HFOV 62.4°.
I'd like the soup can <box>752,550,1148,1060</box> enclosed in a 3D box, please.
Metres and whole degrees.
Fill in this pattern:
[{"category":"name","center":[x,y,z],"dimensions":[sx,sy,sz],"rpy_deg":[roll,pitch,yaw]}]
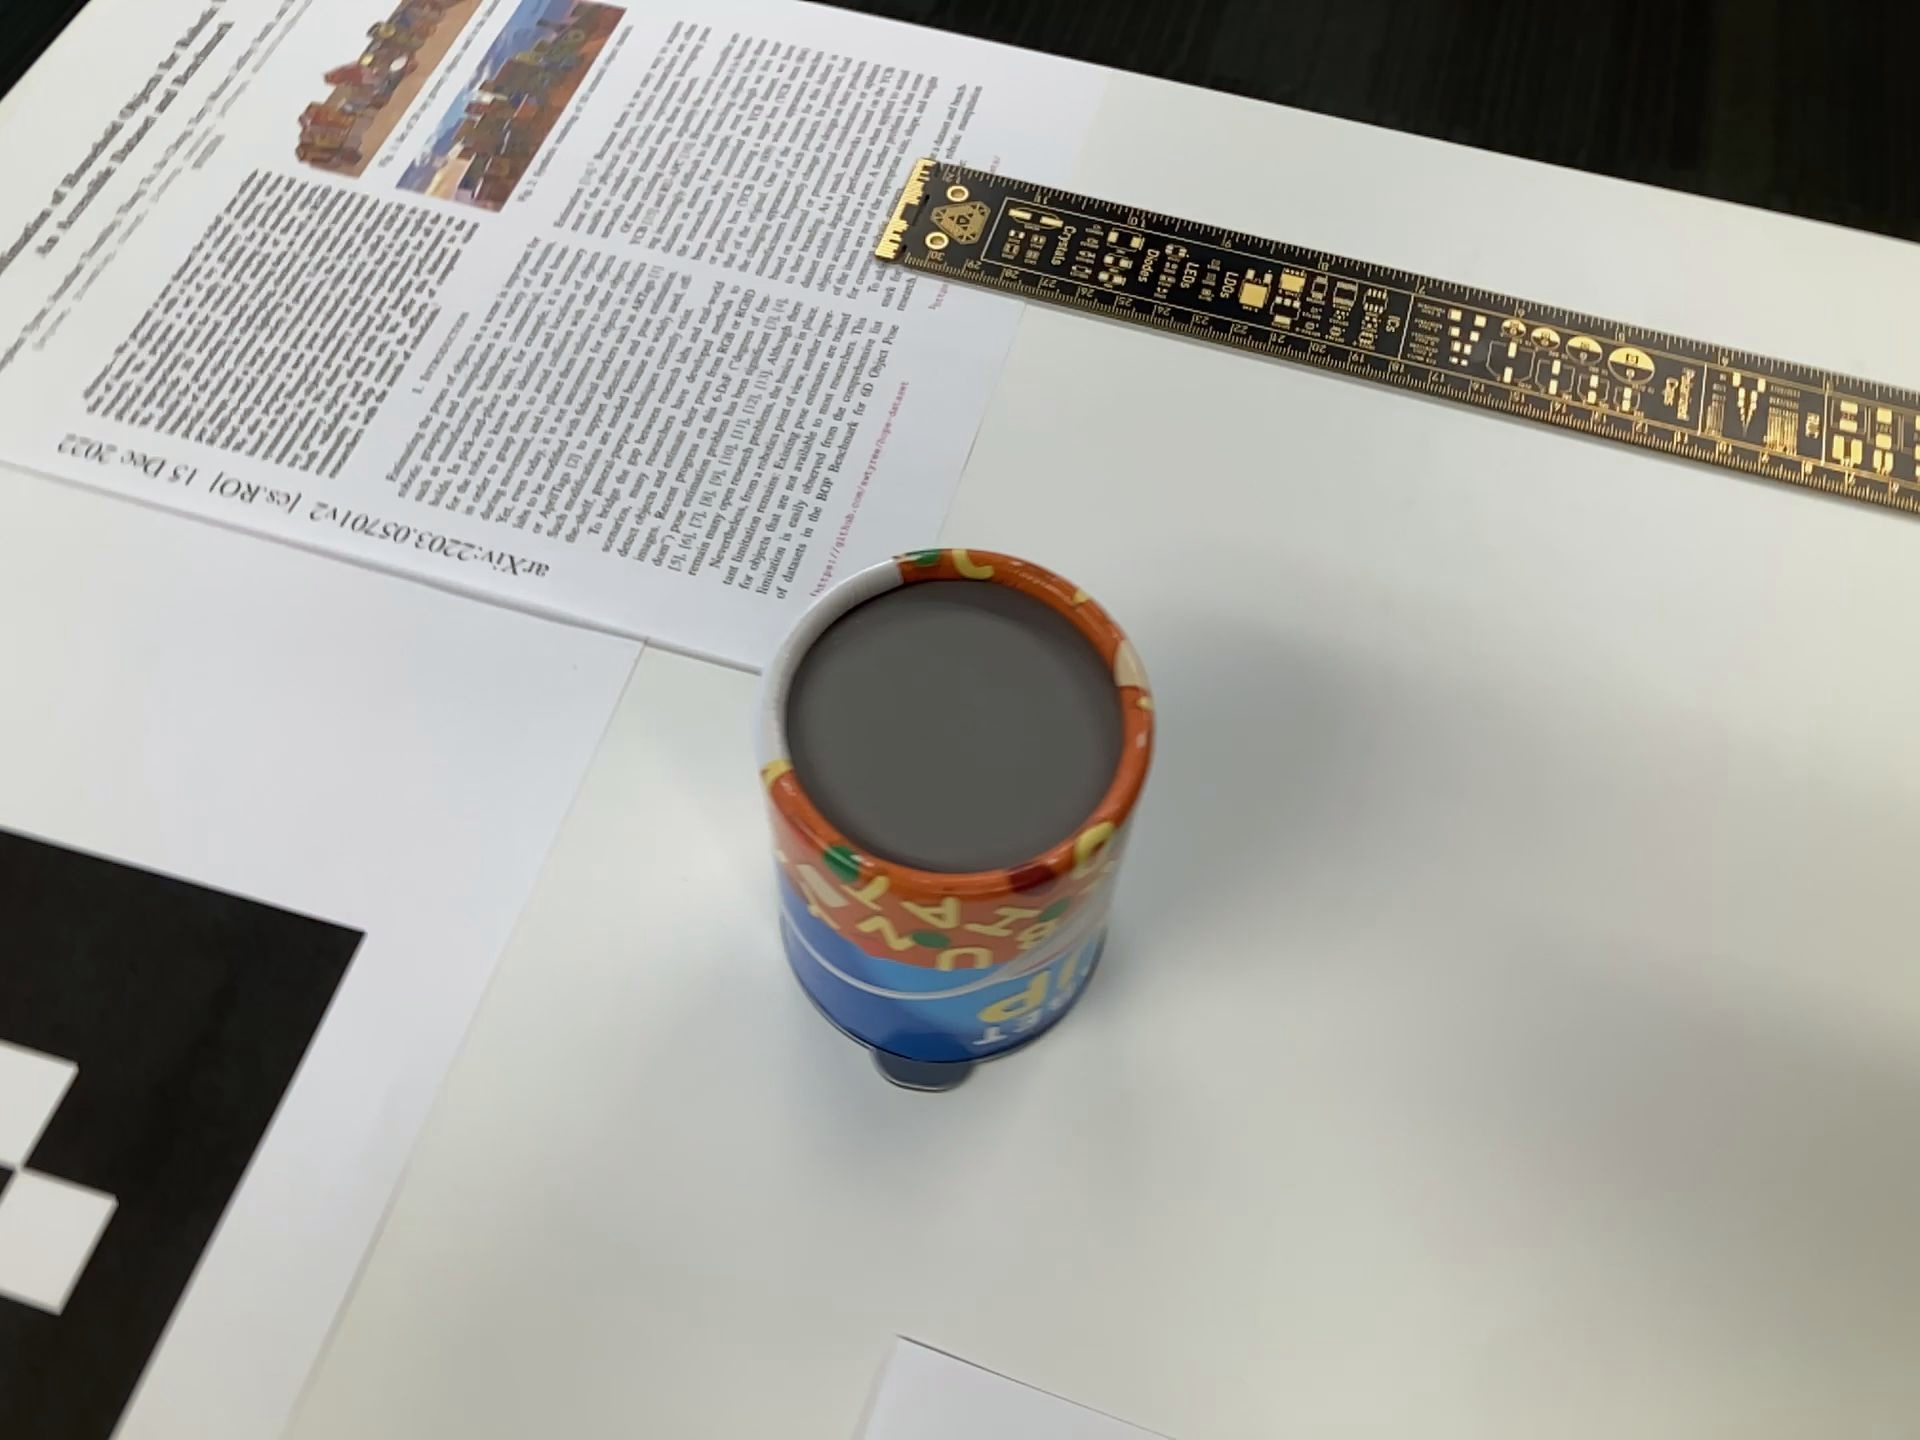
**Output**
[{"category":"soup can","center":[0.000,0.019,0.293],"dimensions":[0.071,0.084,0.071],"rpy_deg":[1,61,-1]}]
